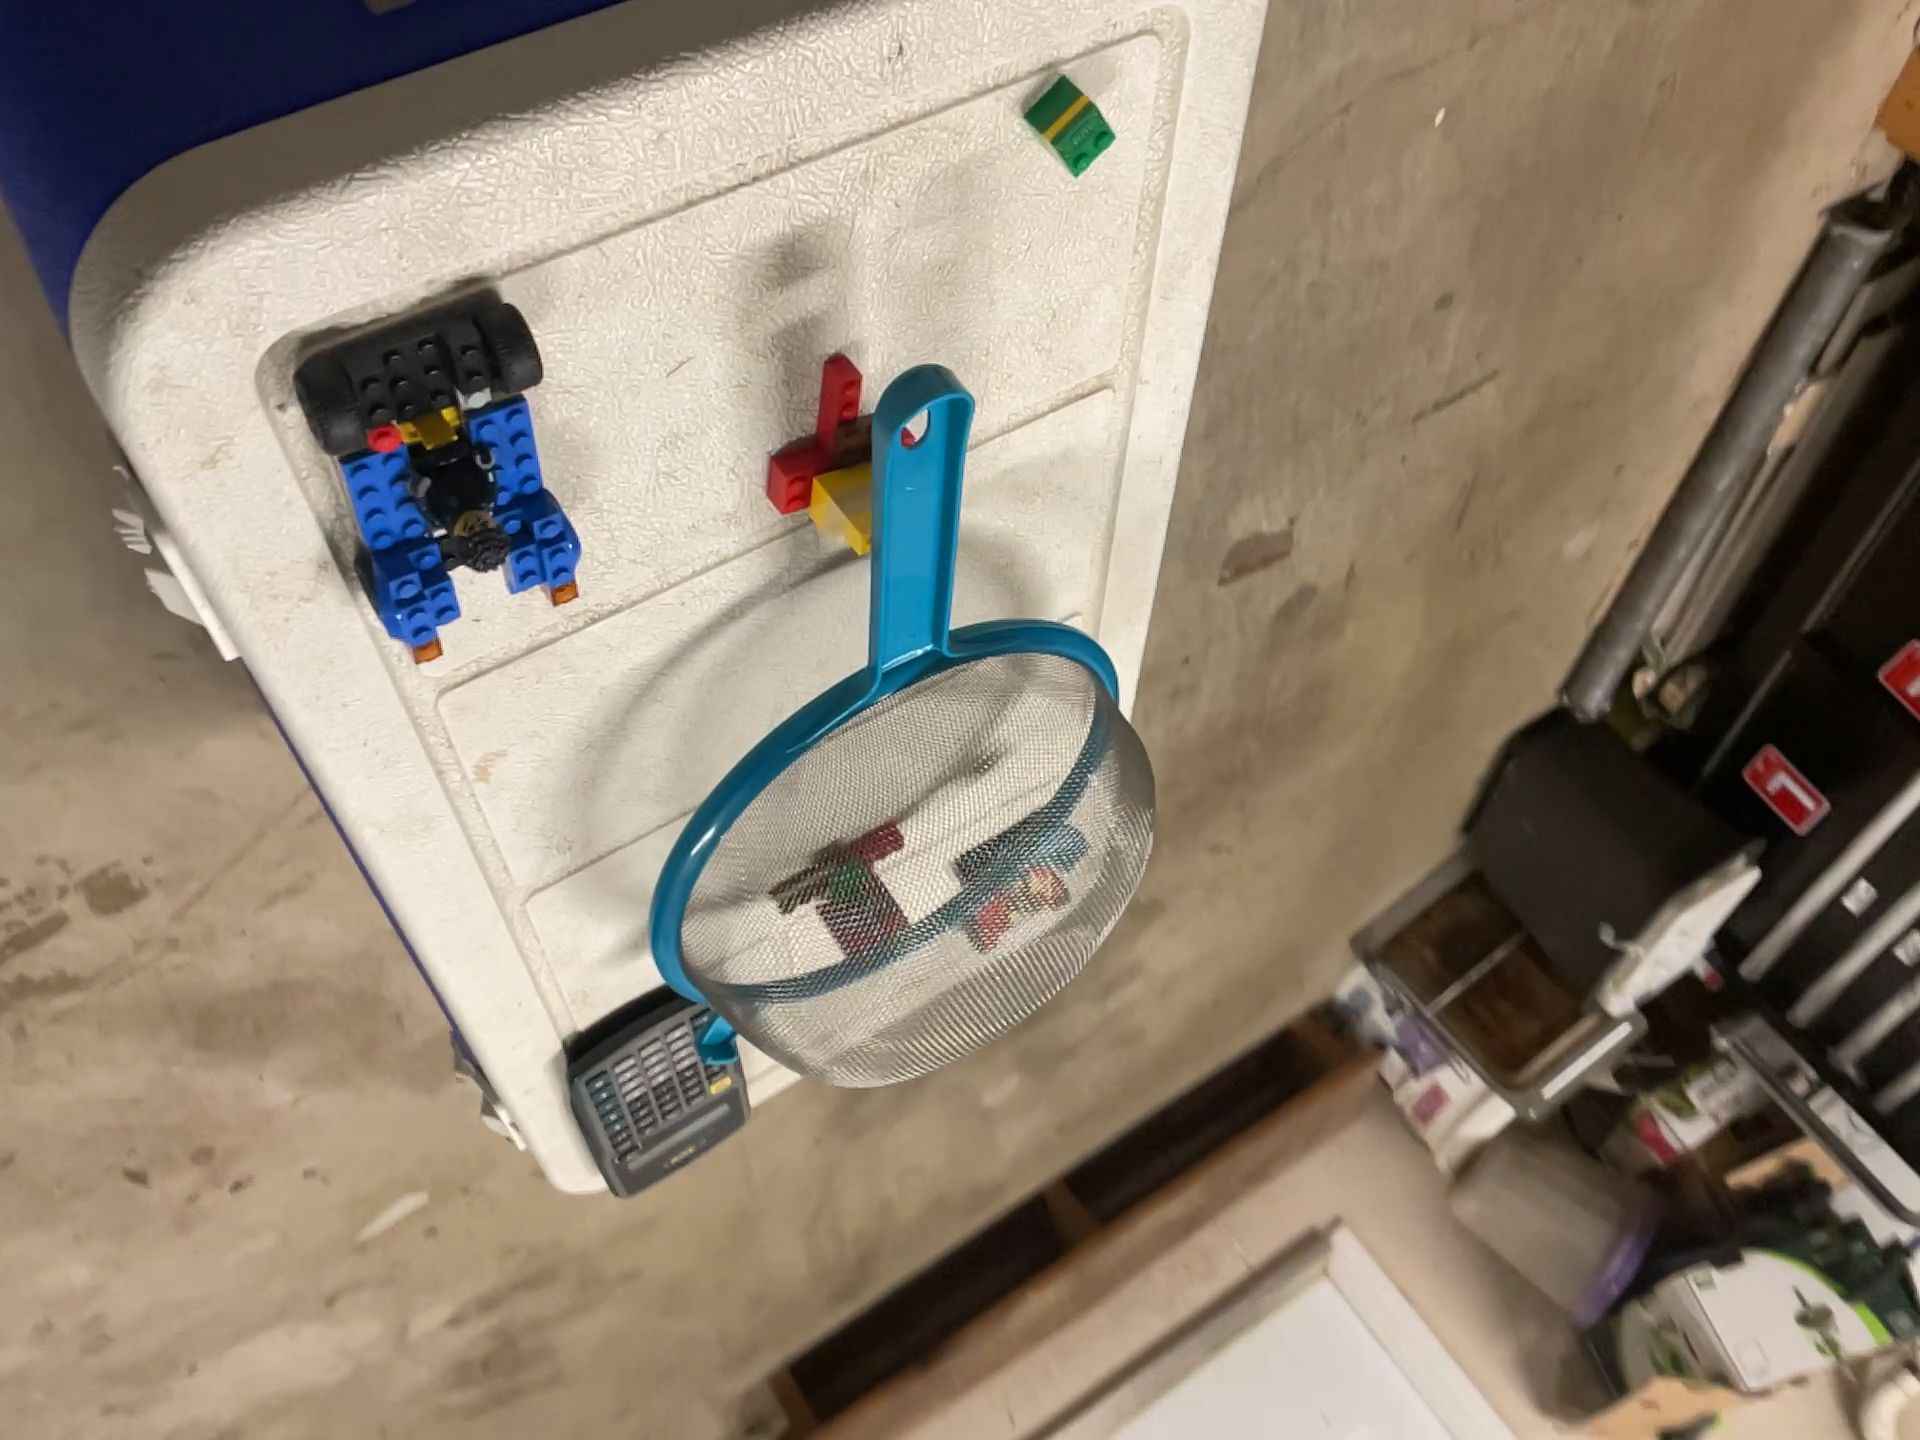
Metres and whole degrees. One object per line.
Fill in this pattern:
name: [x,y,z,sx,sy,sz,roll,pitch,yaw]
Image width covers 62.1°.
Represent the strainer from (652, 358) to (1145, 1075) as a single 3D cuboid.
strainer: [0.002,0.030,0.546,0.211,0.095,0.340,-27,151,-21]
